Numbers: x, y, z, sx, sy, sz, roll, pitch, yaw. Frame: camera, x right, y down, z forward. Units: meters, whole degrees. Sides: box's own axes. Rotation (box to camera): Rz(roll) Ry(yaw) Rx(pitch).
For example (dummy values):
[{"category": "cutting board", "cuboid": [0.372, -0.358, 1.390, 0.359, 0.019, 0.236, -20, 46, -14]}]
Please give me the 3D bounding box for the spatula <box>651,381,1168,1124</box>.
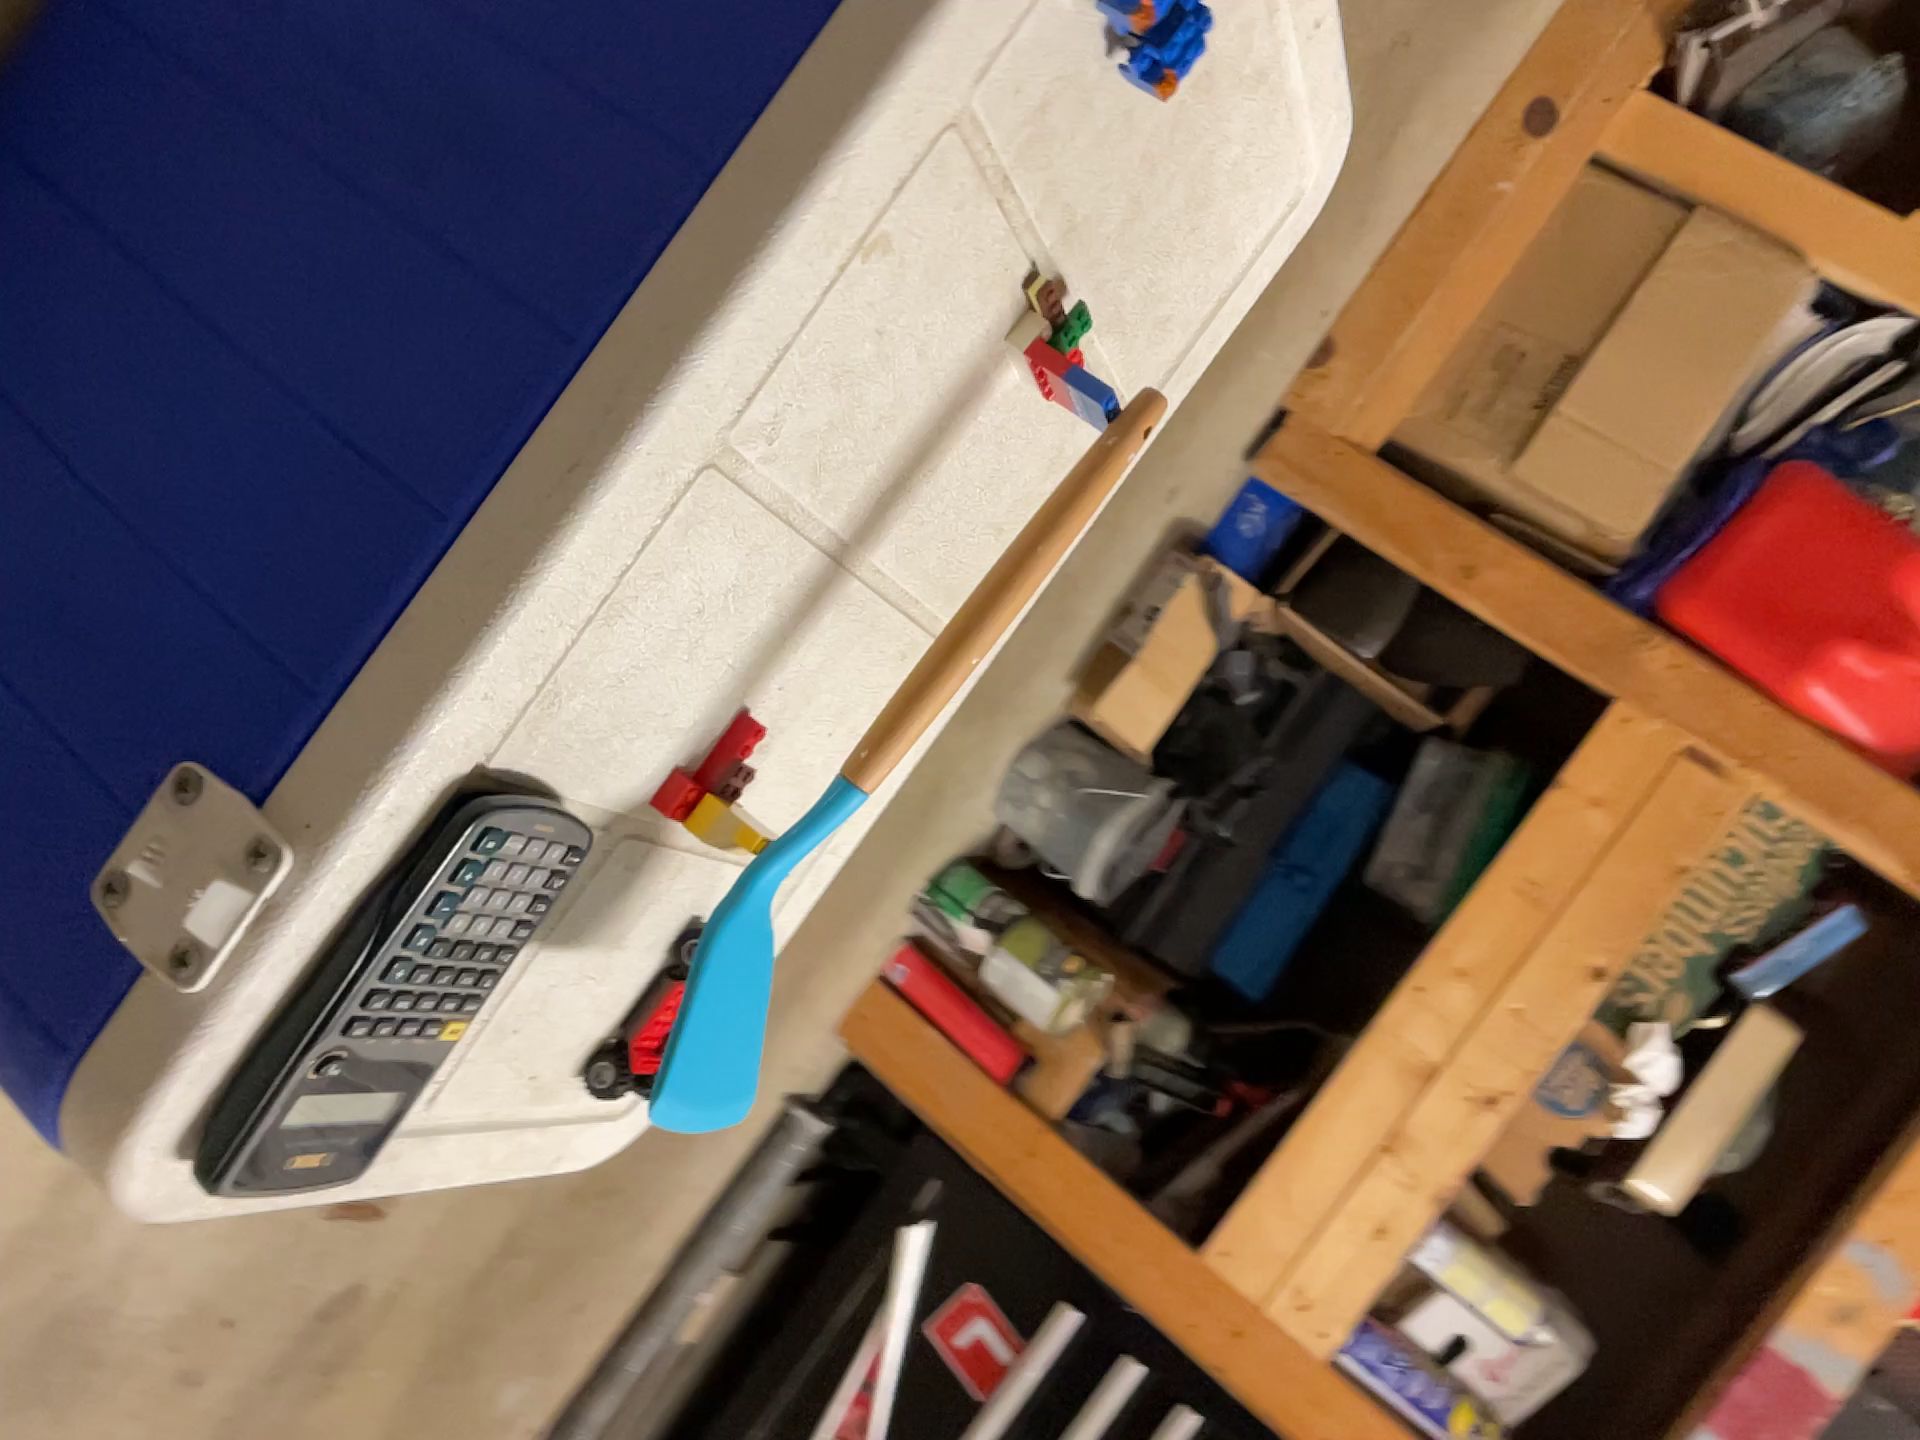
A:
[{"category": "spatula", "cuboid": [-0.015, 0.008, 0.590, 0.317, 0.044, 0.082, -53, 157, -1]}]
